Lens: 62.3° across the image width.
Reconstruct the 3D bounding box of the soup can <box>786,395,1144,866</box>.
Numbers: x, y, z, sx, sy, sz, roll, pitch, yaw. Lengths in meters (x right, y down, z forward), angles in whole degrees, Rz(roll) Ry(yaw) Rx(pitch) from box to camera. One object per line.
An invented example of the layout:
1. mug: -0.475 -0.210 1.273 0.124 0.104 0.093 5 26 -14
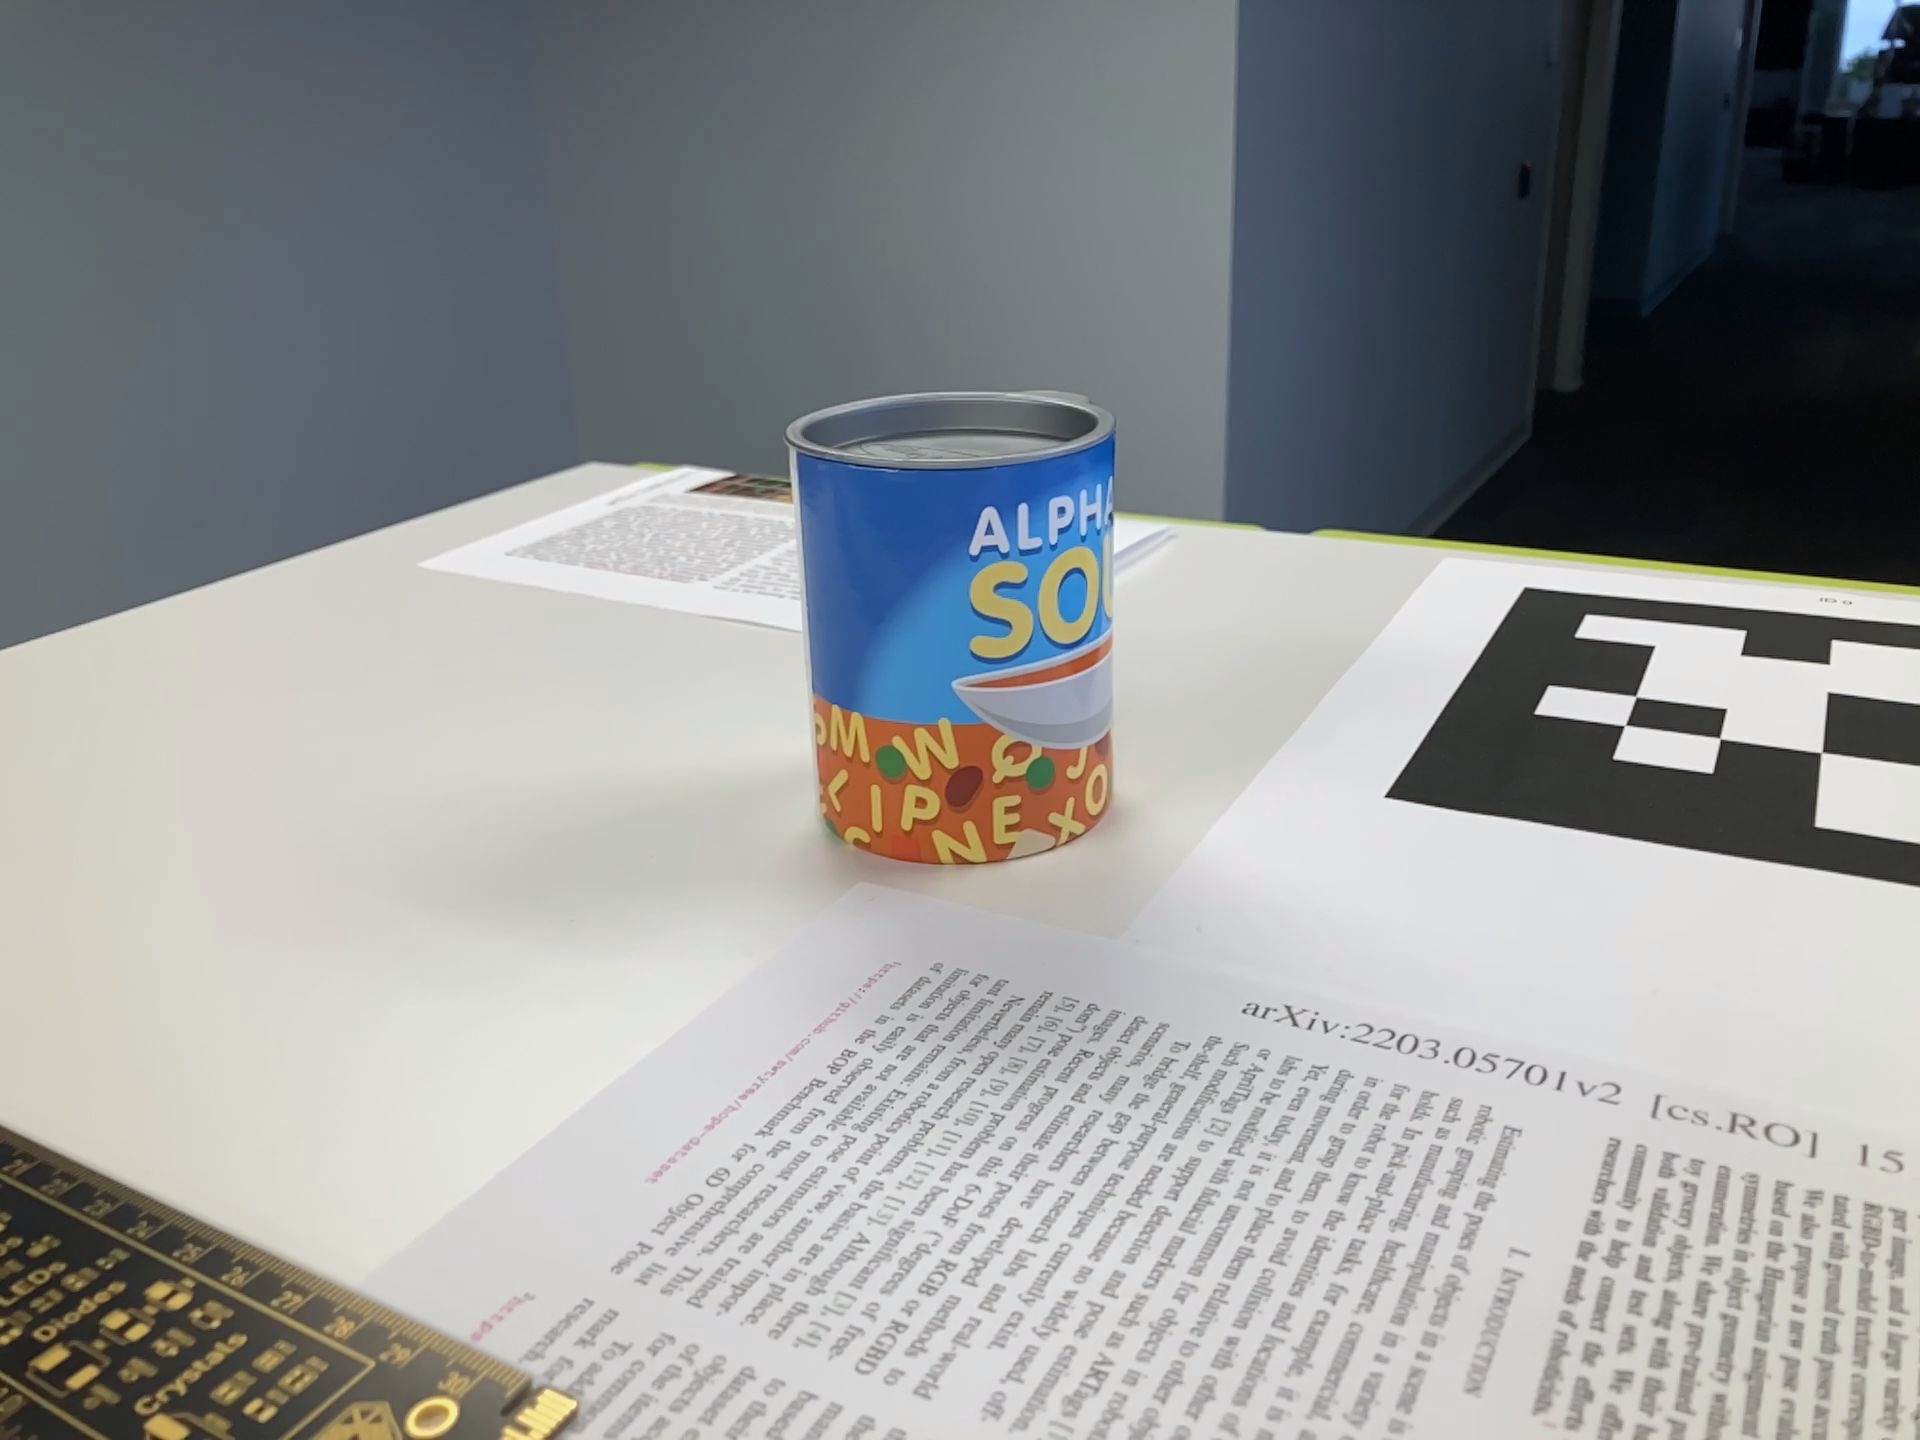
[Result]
1. soup can: 0.002 -0.020 0.332 0.071 0.084 0.071 -2 22 1
